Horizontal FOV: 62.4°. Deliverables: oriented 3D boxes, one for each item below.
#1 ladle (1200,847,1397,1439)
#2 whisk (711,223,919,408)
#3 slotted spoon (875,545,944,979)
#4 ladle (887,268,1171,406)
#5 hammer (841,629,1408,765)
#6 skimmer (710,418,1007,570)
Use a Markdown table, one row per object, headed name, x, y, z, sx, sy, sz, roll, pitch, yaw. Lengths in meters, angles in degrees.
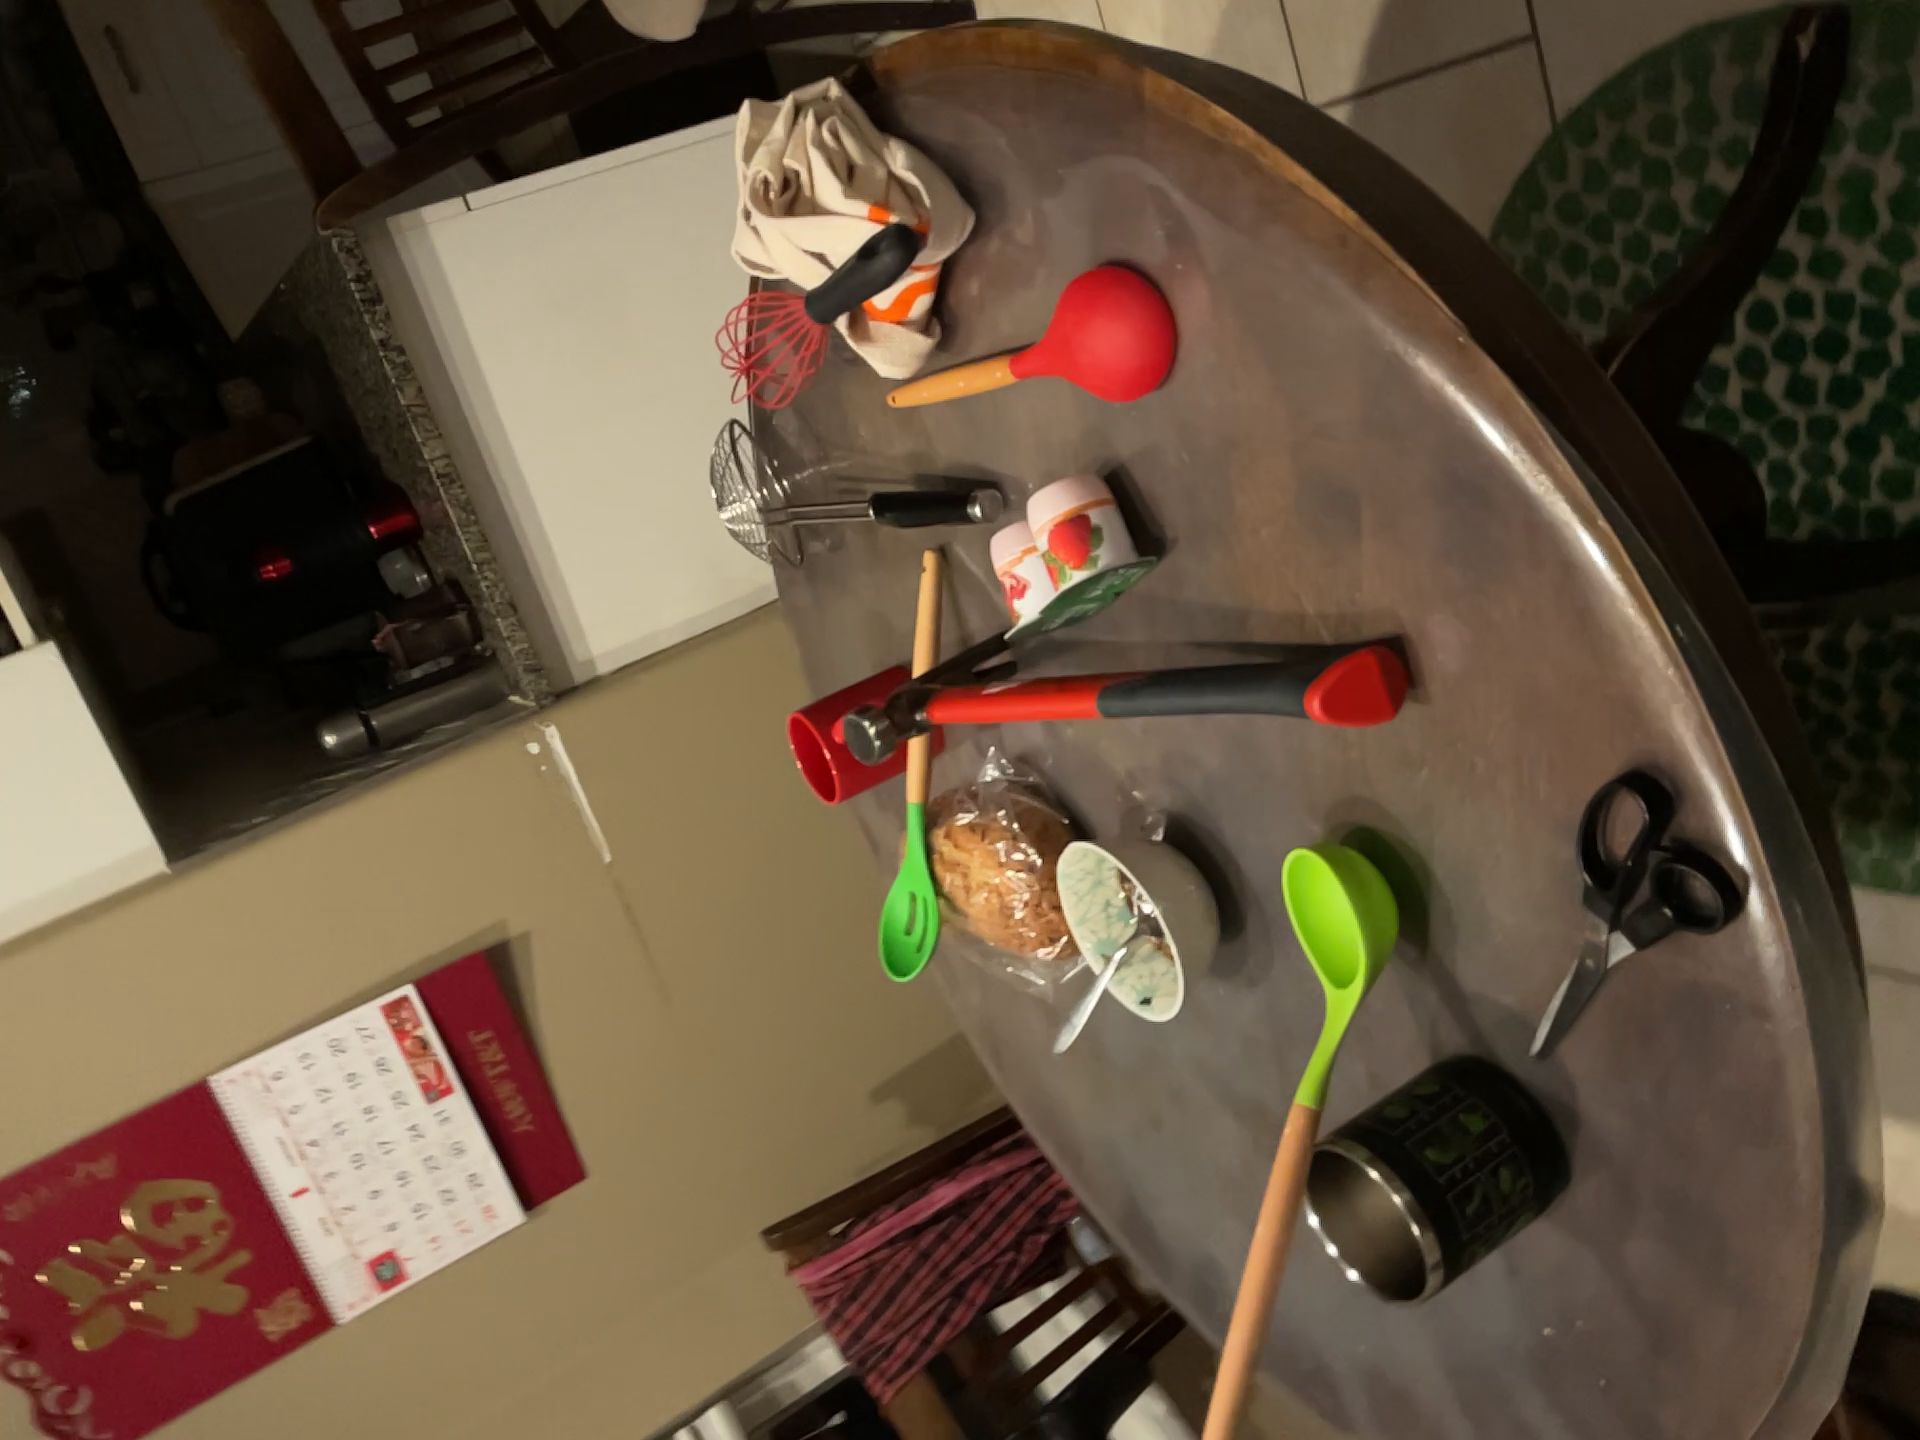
| name | x | y | z | sx | sy | sz | roll | pitch | yaw |
| --- | --- | --- | --- | --- | --- | --- | --- | --- | --- |
| ladle | 0.155 | 0.219 | 0.795 | 0.062 | 0.320 | 0.078 | 20 | 168 | -6 |
| whisk | -0.092 | -0.252 | 0.982 | 0.296 | 0.073 | 0.073 | -5 | 108 | 65 |
| slotted spoon | -0.028 | 0.032 | 1.132 | 0.070 | 0.031 | 0.313 | 19 | 108 | 53 |
| ladle | 0.023 | -0.204 | 0.917 | 0.316 | 0.031 | 0.069 | 10 | 122 | 64 |
| hammer | 0.093 | -0.020 | 0.897 | 0.387 | 0.143 | 0.038 | -2 | 114 | 52 |
| skimmer | -0.073 | -0.166 | 1.149 | 0.364 | 0.090 | 0.127 | 7 | 129 | 51 |
